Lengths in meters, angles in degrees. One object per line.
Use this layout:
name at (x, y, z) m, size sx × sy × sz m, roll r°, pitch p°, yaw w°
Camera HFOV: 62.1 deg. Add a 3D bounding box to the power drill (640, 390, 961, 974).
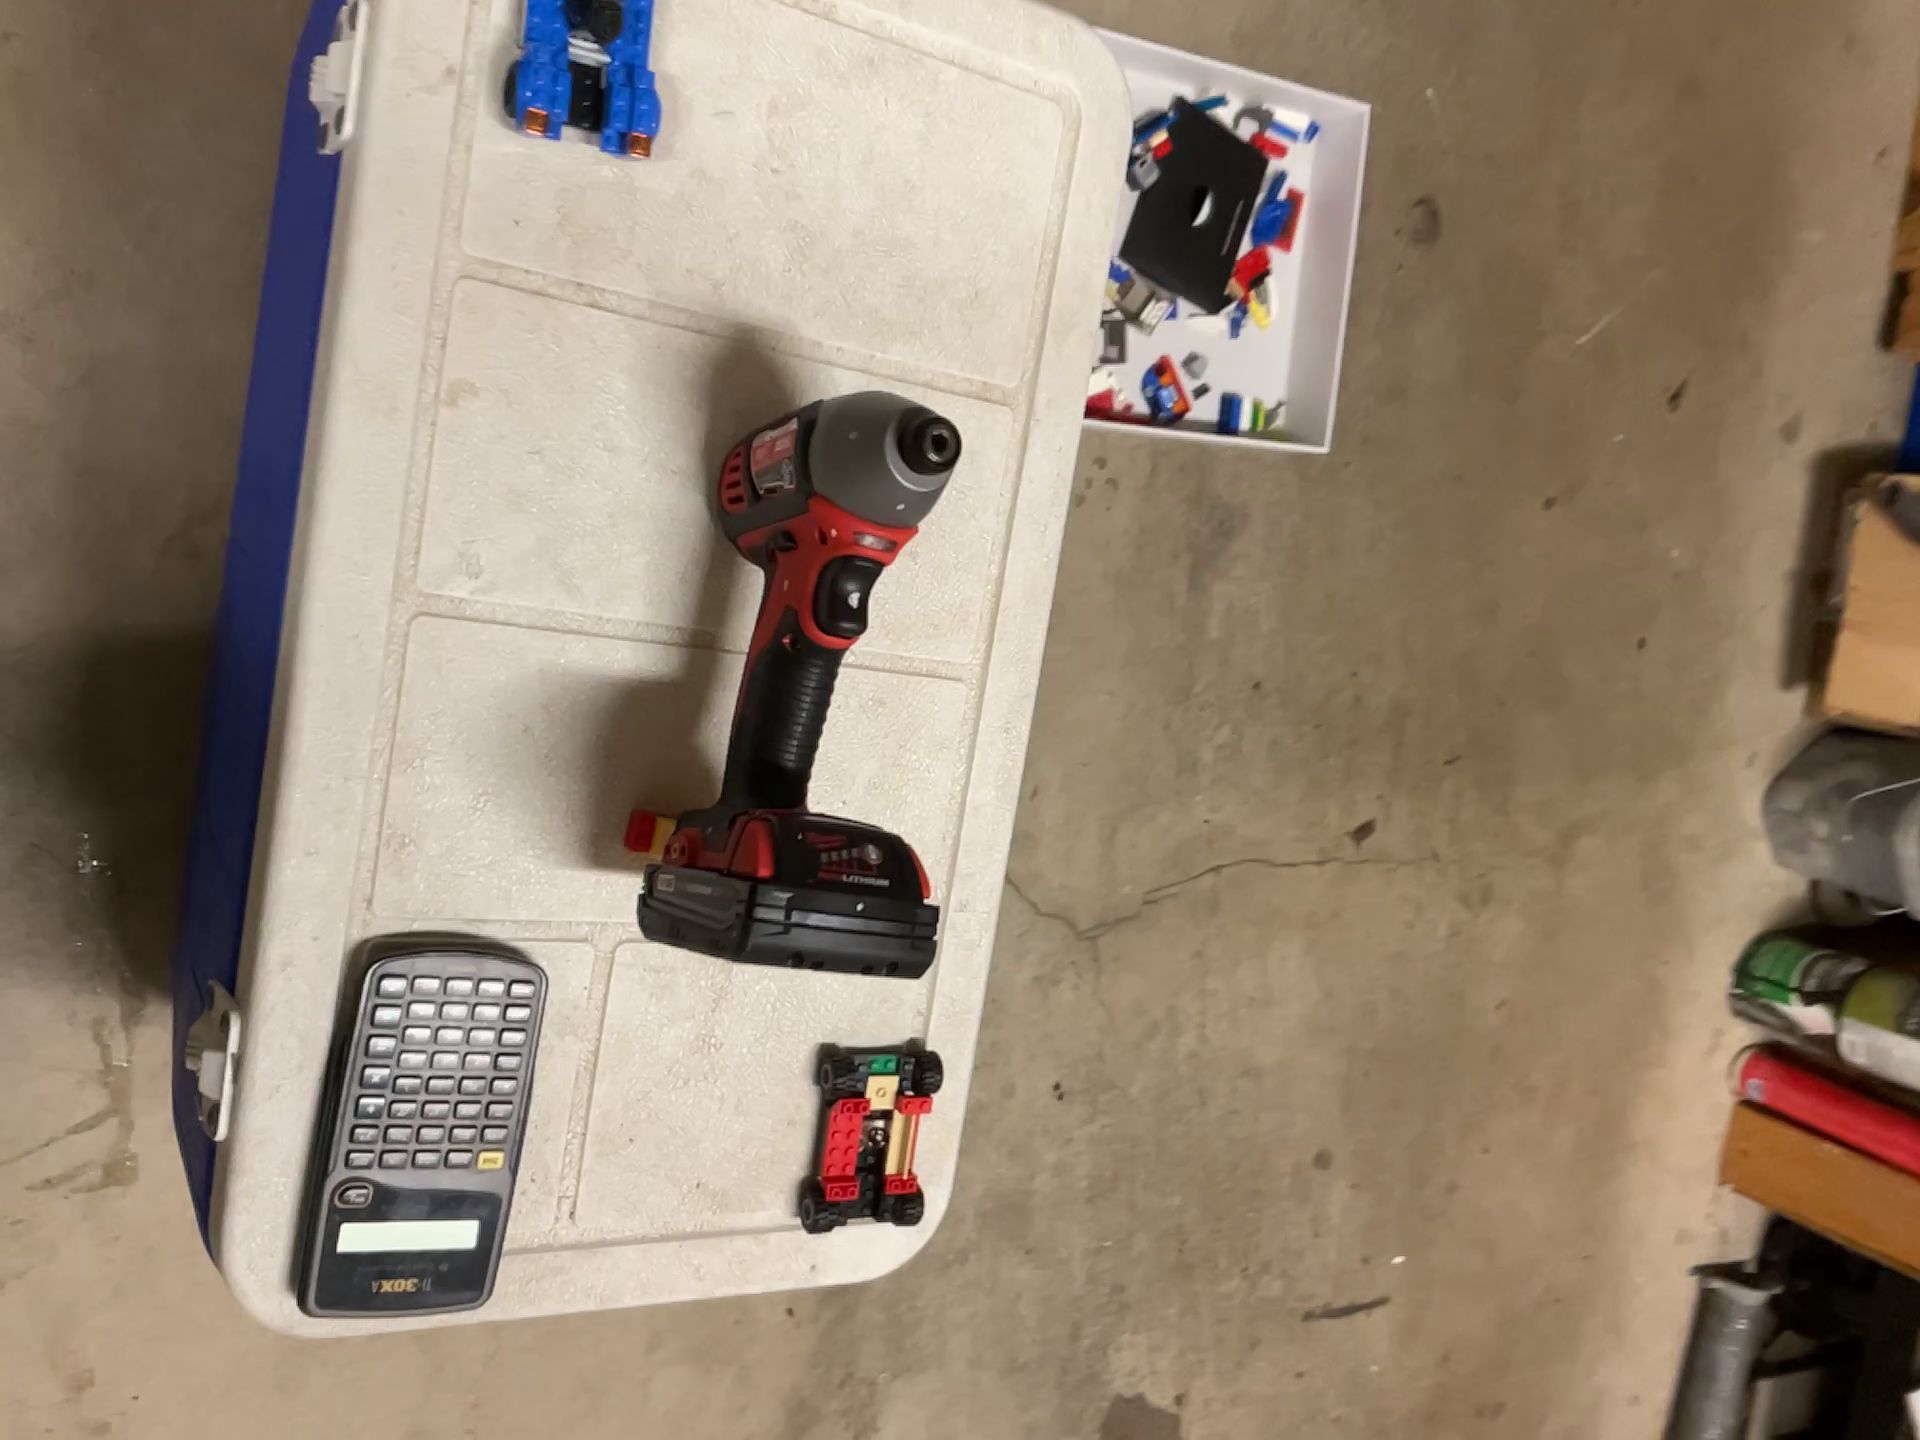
power drill at (-0.054, -0.018, 0.618) m, size 0.078 × 0.143 × 0.220 m, roll 11°, pitch 81°, yaw -32°
